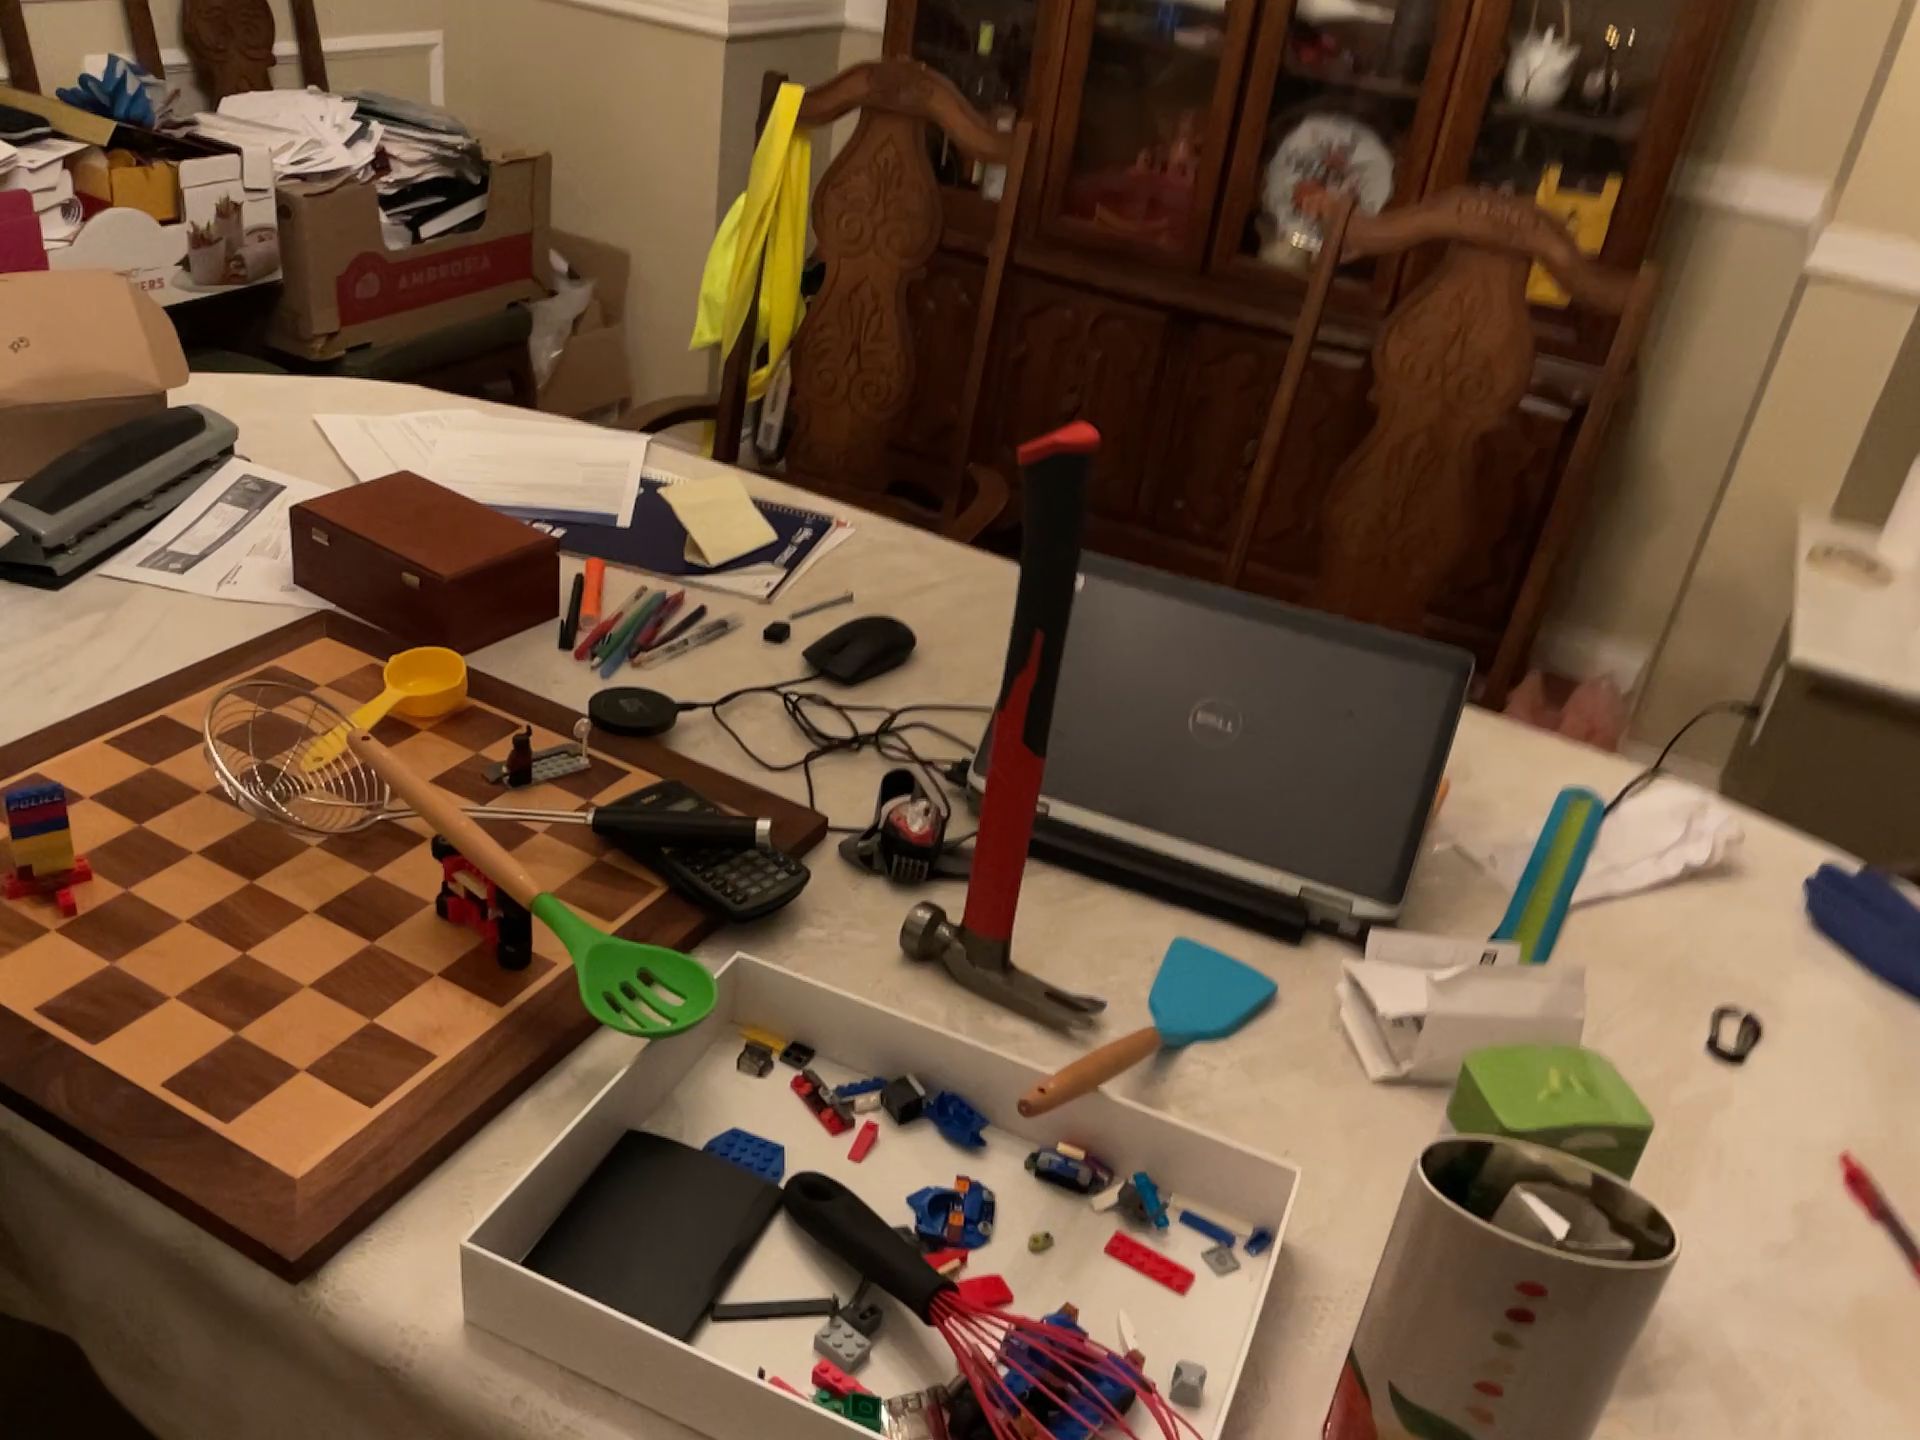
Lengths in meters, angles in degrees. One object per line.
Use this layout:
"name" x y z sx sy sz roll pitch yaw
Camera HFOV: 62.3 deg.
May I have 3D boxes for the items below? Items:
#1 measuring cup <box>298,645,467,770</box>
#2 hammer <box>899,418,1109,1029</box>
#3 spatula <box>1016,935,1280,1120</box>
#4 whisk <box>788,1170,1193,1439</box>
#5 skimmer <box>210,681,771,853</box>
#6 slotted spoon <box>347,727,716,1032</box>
"measuring cup" -0.429 -0.002 1.182 0.062 0.029 0.156 23 45 18
"hammer" 0.051 0.011 0.955 0.143 0.386 0.038 22 32 22
"spatula" 0.107 0.186 0.954 0.082 0.044 0.317 25 12 24
"whisk" 0.003 0.288 0.757 0.073 0.073 0.296 8 9 -41
"skimmer" -0.307 0.037 1.057 0.363 0.090 0.127 5 27 2
"slotted spoon" -0.266 0.091 0.947 0.314 0.031 0.070 35 39 24
